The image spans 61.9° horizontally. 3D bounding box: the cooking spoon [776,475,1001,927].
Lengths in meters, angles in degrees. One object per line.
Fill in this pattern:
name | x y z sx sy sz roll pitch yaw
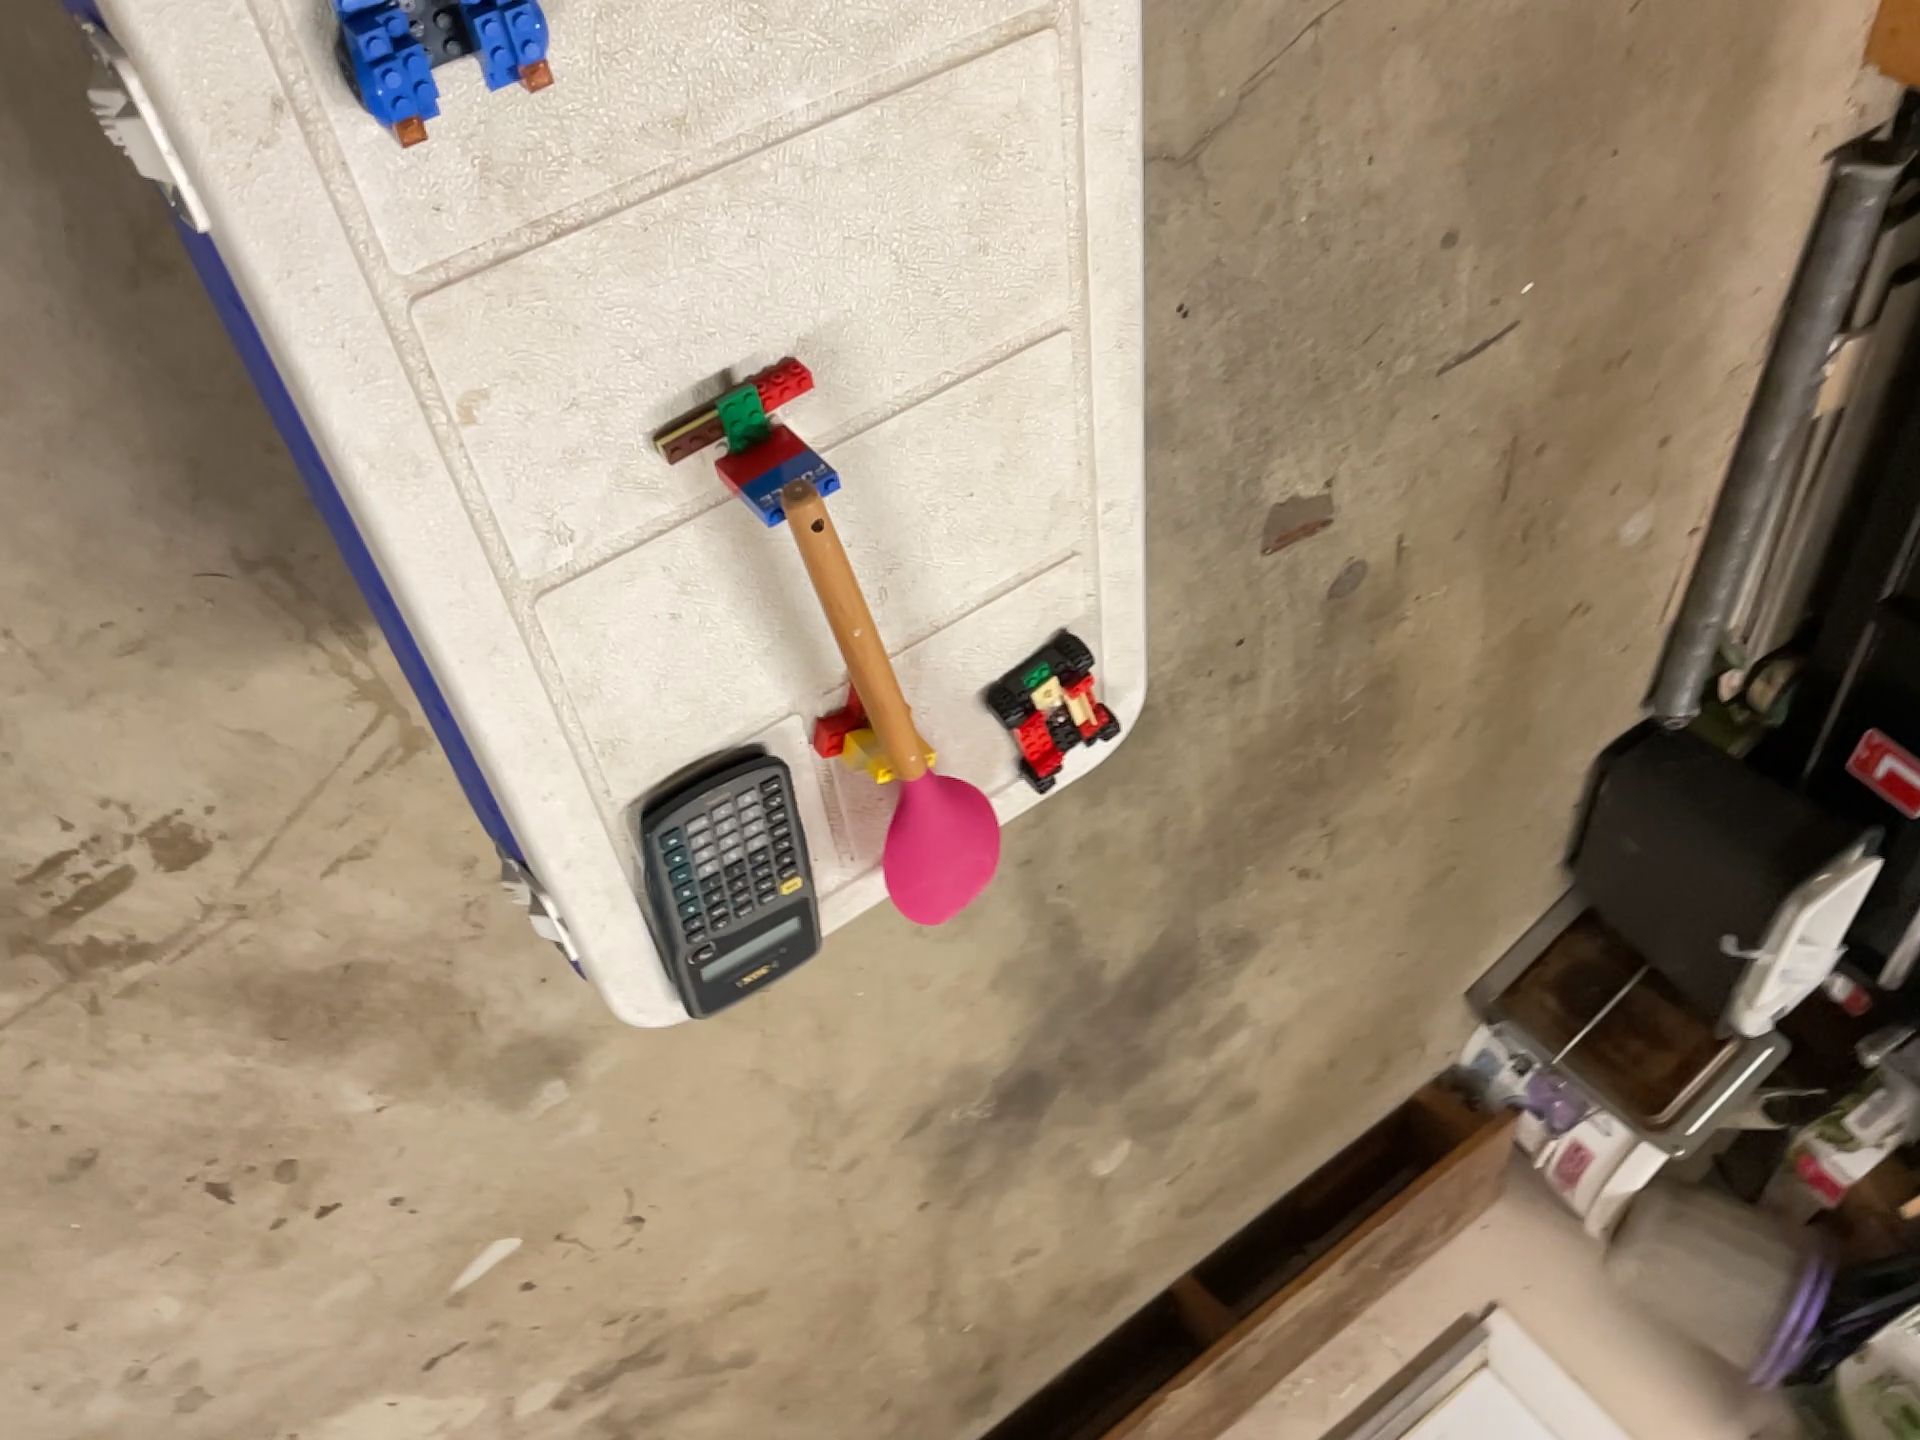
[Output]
cooking spoon | -0.028 0.007 0.694 0.069 0.017 0.318 -40 146 -14
